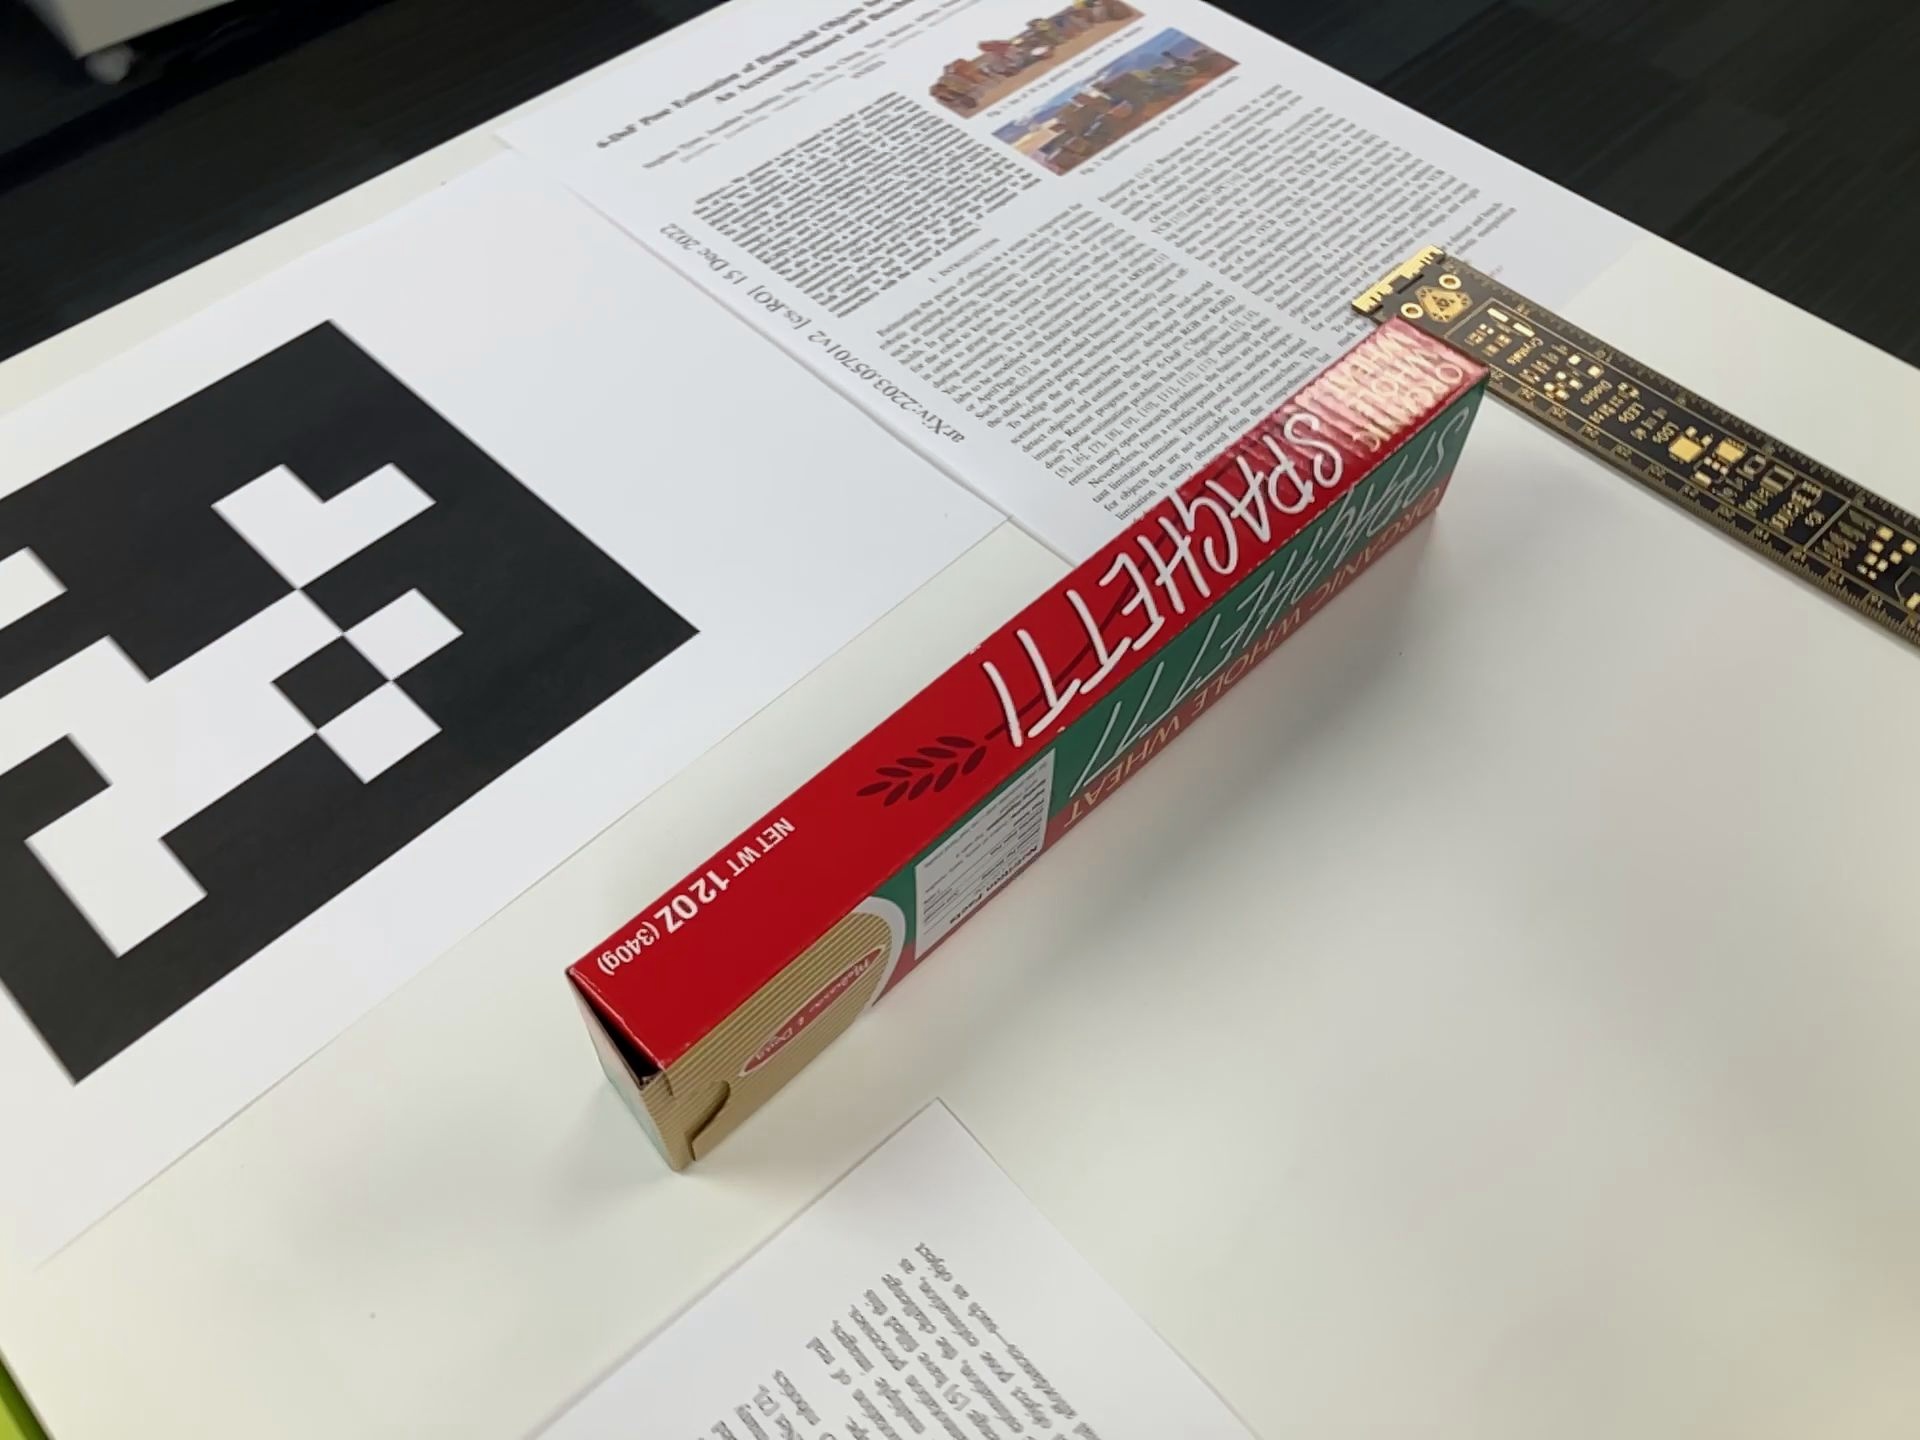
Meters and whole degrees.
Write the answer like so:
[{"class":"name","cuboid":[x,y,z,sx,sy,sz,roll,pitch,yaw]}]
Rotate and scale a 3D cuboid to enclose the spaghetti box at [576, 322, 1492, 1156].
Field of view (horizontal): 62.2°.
[{"class":"spaghetti box","cuboid":[0.028,-0.006,0.346,0.250,0.050,0.028,-39,65,-25]}]
